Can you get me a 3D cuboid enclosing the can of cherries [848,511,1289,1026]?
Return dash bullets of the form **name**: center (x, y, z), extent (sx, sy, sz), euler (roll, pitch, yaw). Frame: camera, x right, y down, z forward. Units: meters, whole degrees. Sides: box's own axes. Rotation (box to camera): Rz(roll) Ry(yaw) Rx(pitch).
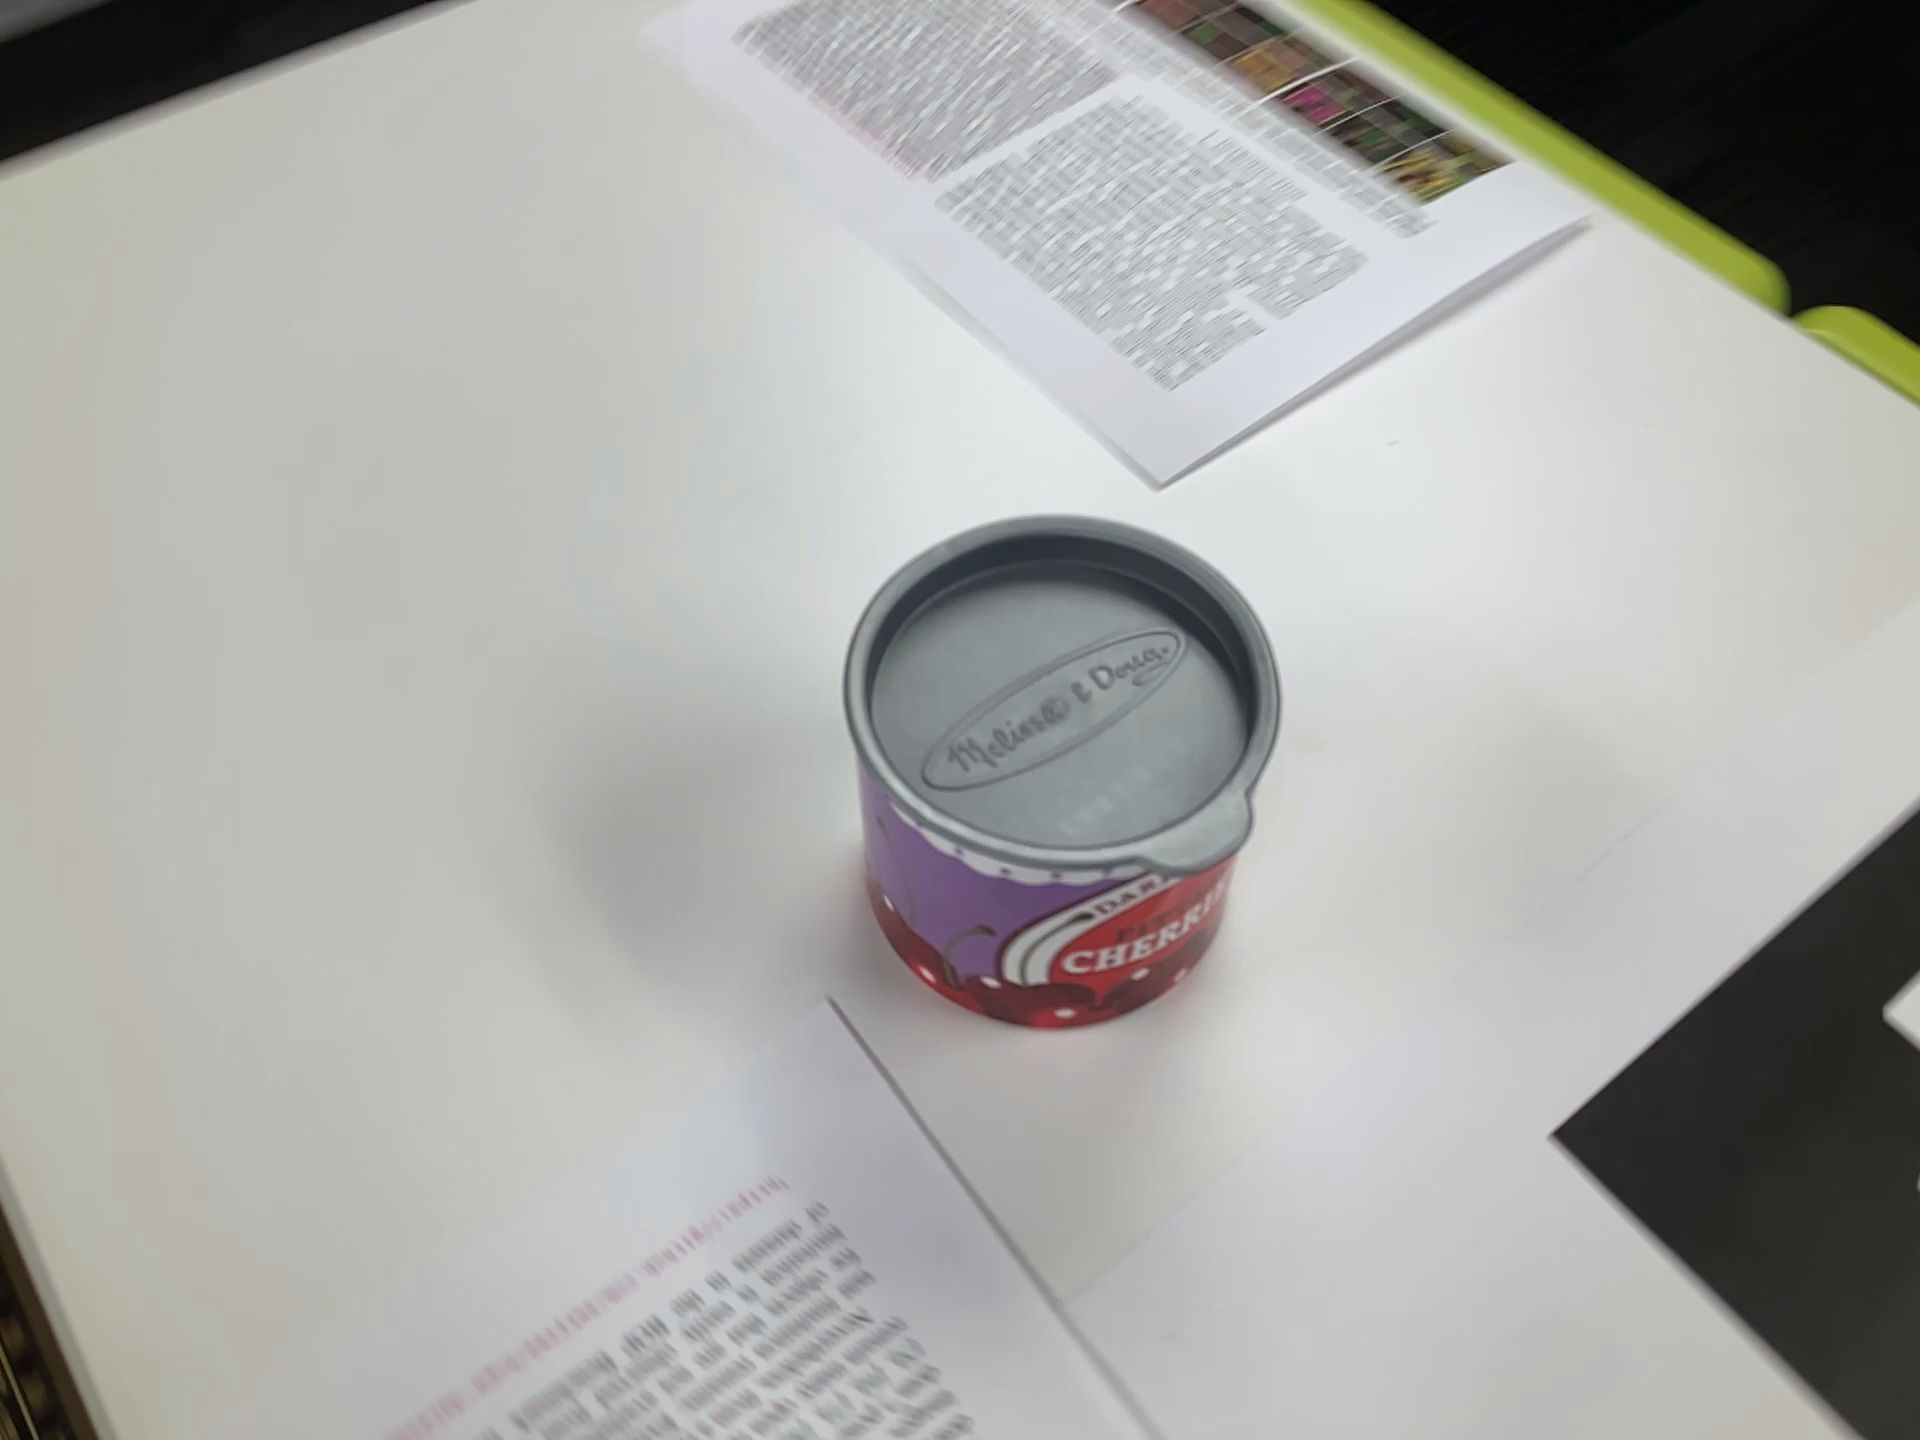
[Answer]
- **can of cherries**: center (0.018, 0.011, 0.260), extent (0.071, 0.058, 0.071), euler (0, 55, 0)
